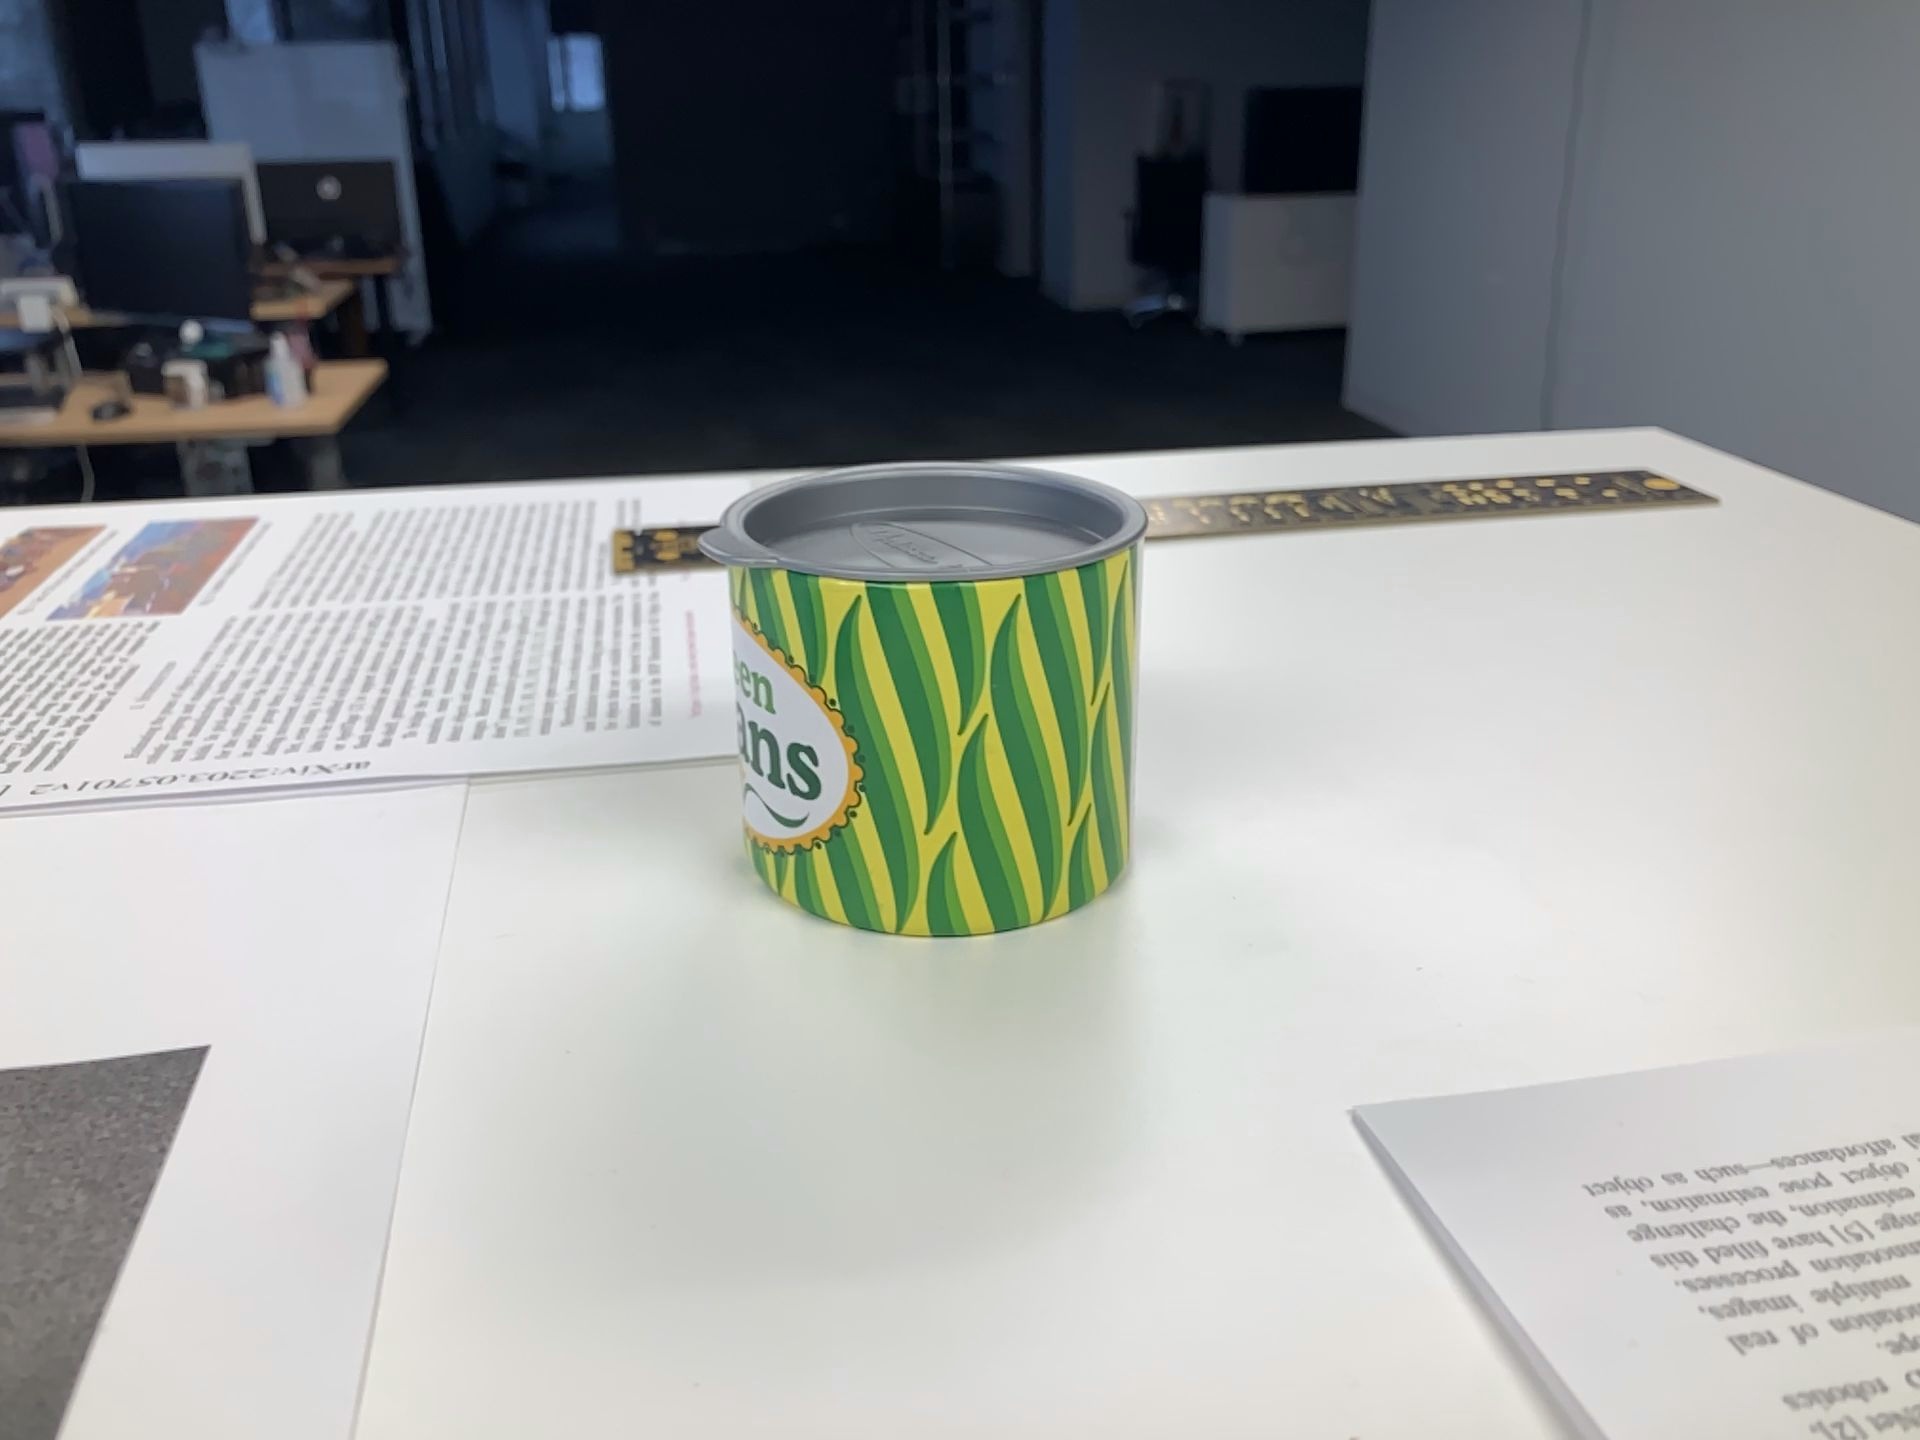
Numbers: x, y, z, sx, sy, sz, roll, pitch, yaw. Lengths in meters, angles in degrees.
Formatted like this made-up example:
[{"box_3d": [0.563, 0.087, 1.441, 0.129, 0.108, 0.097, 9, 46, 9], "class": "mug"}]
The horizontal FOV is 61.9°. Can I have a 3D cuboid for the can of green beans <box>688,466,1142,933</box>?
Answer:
[{"box_3d": [-0.005, -0.006, 0.259, 0.071, 0.058, 0.071, 0, 21, 0], "class": "can of green beans"}]
